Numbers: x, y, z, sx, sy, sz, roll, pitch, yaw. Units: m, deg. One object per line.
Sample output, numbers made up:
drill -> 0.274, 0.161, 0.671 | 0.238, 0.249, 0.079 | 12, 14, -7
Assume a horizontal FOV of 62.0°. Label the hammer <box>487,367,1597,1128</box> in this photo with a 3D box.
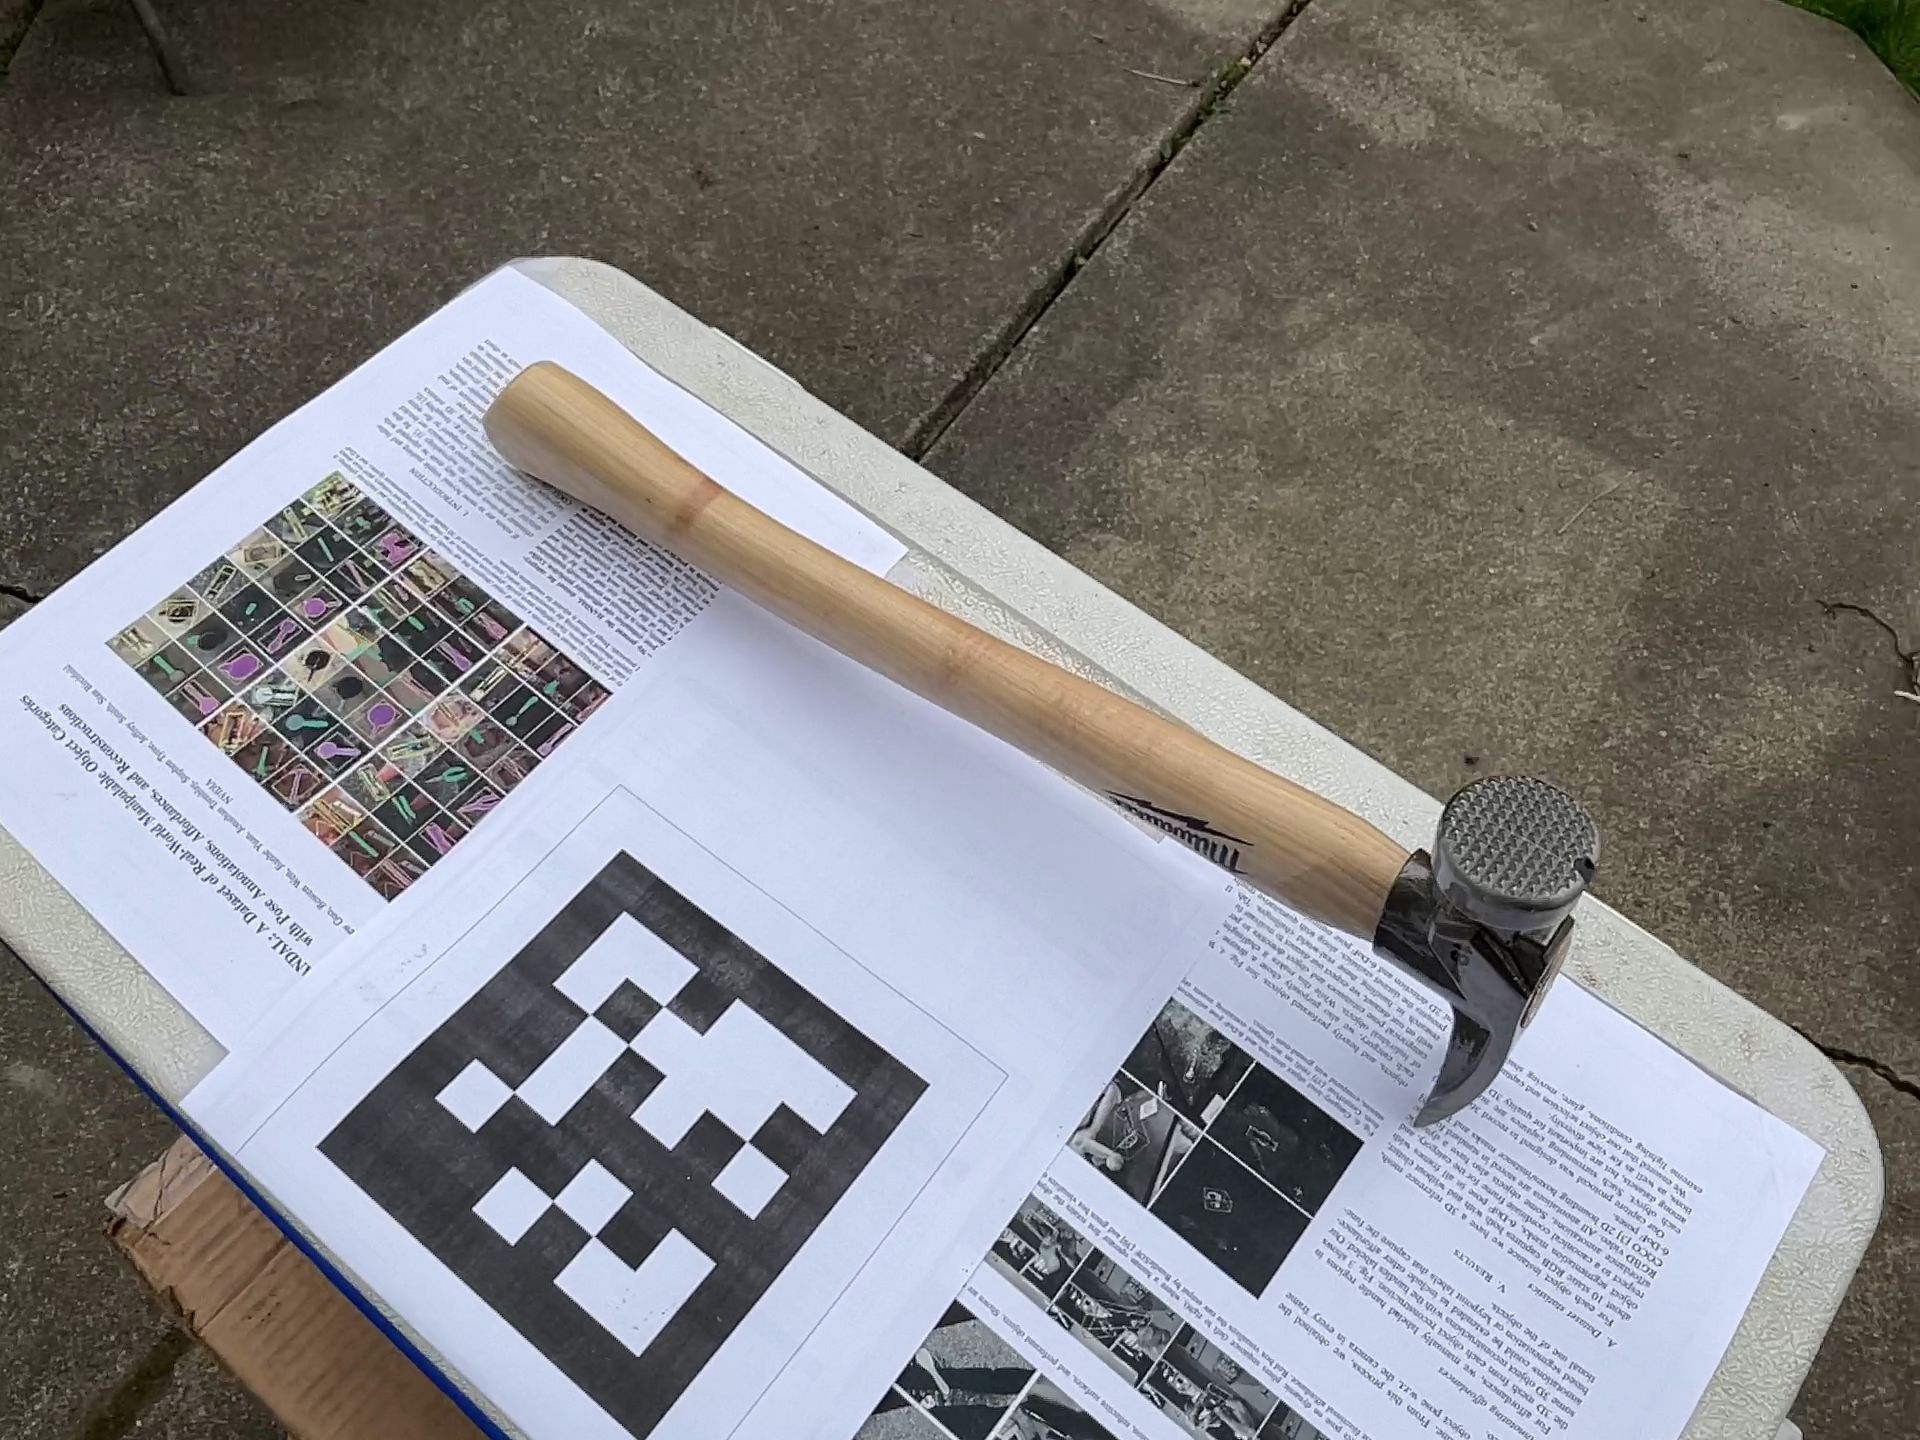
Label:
hammer -> -0.004, -0.013, 0.524 | 0.411, 0.146, 0.038 | 30, 62, 26
